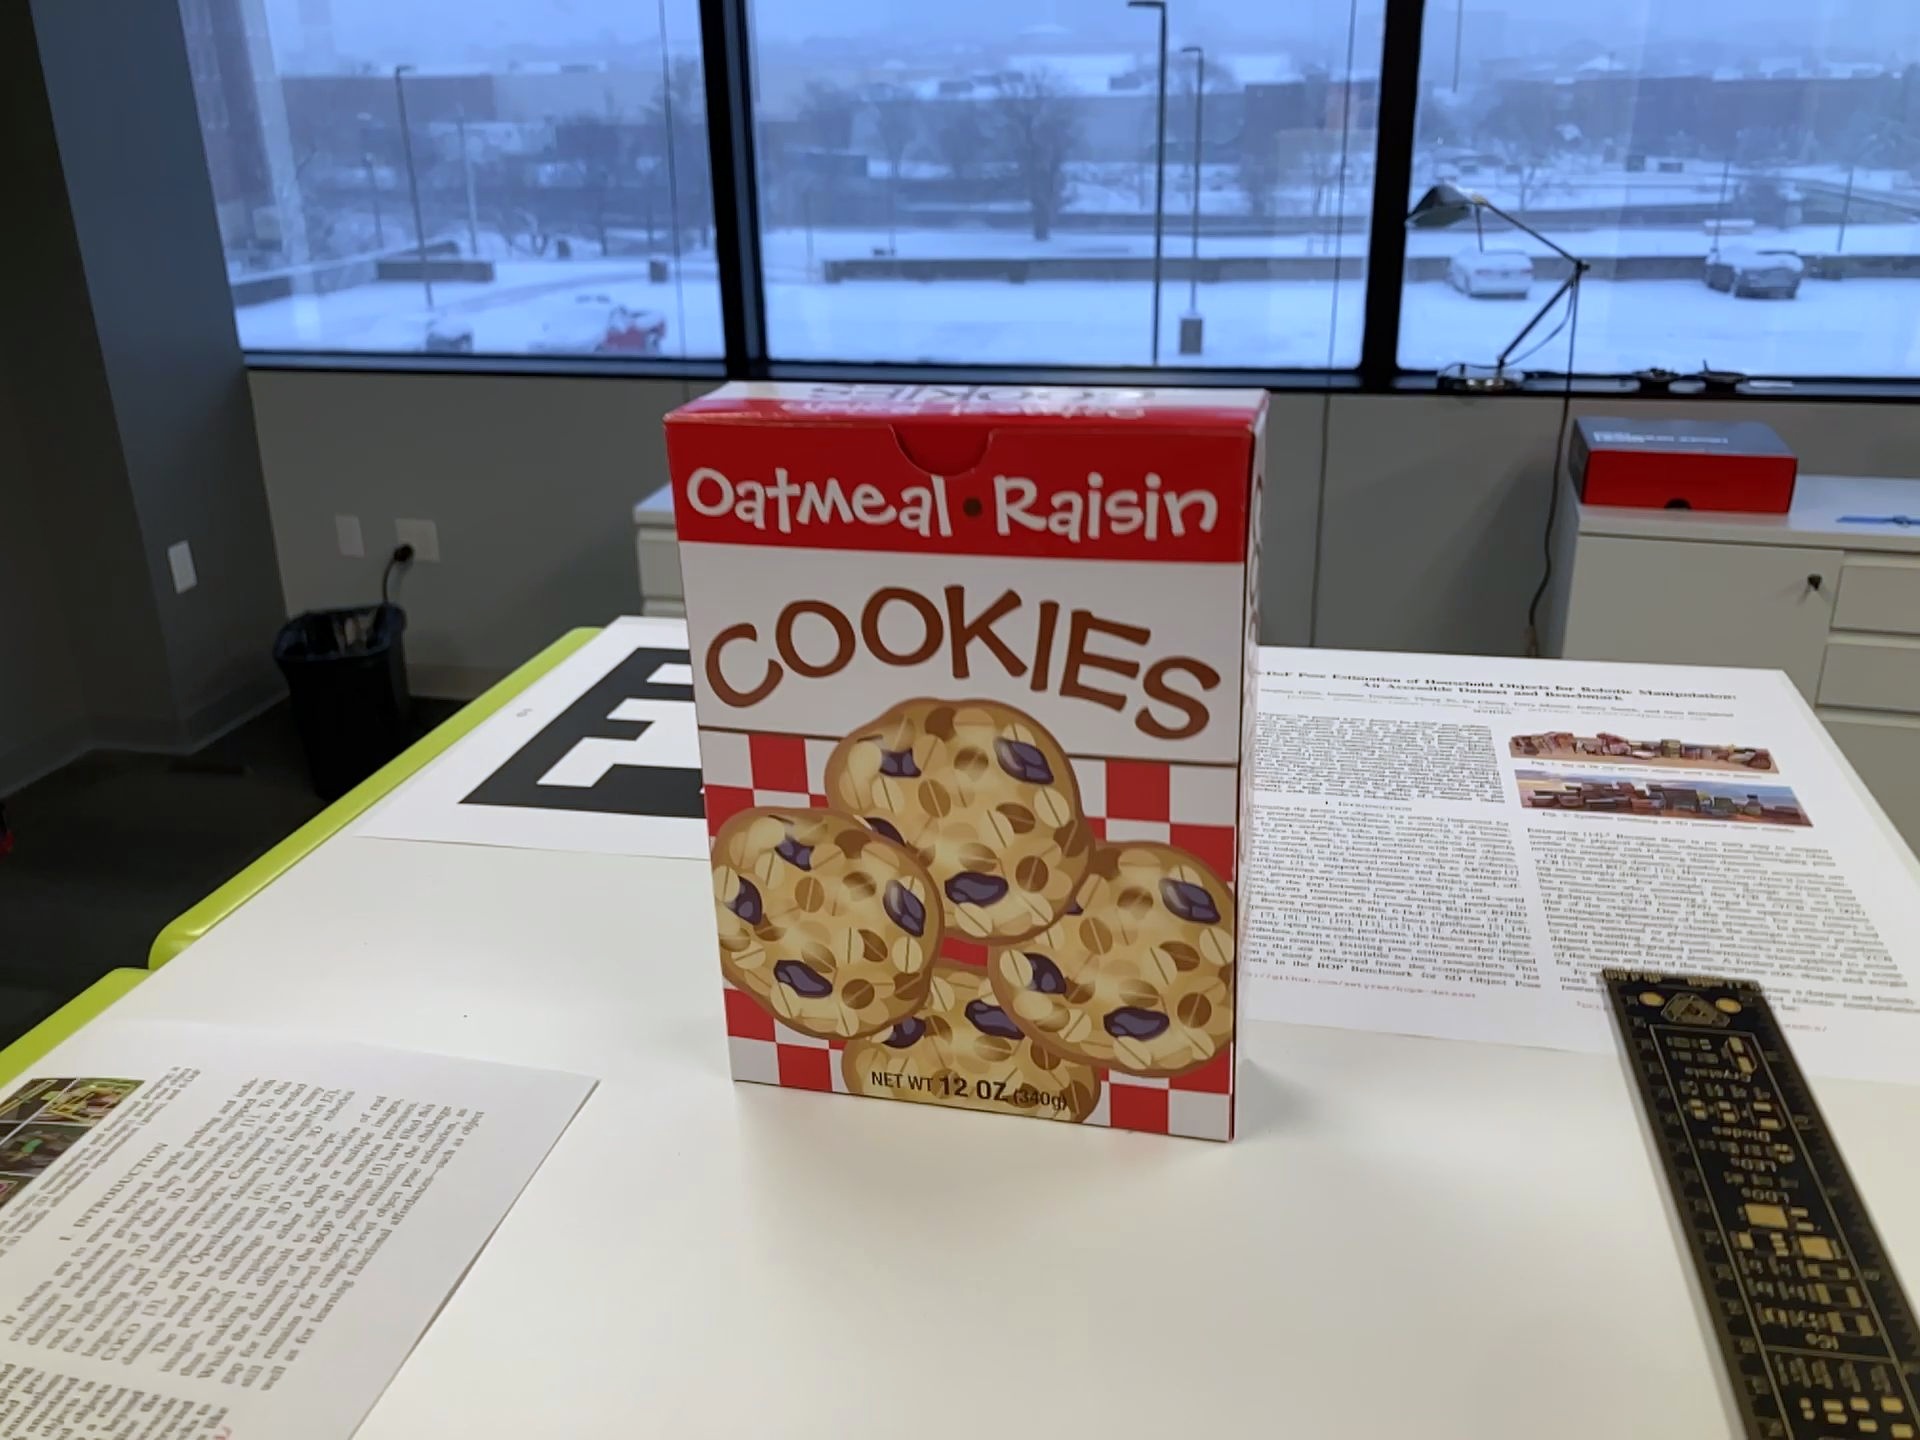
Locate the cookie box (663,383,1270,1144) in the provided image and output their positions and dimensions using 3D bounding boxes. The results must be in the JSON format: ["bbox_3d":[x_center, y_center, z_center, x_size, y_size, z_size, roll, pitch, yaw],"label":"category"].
[{"bbox_3d":[0.004,0.010,0.359,0.123,0.167,0.040,4,23,14],"label":"cookie box"}]
